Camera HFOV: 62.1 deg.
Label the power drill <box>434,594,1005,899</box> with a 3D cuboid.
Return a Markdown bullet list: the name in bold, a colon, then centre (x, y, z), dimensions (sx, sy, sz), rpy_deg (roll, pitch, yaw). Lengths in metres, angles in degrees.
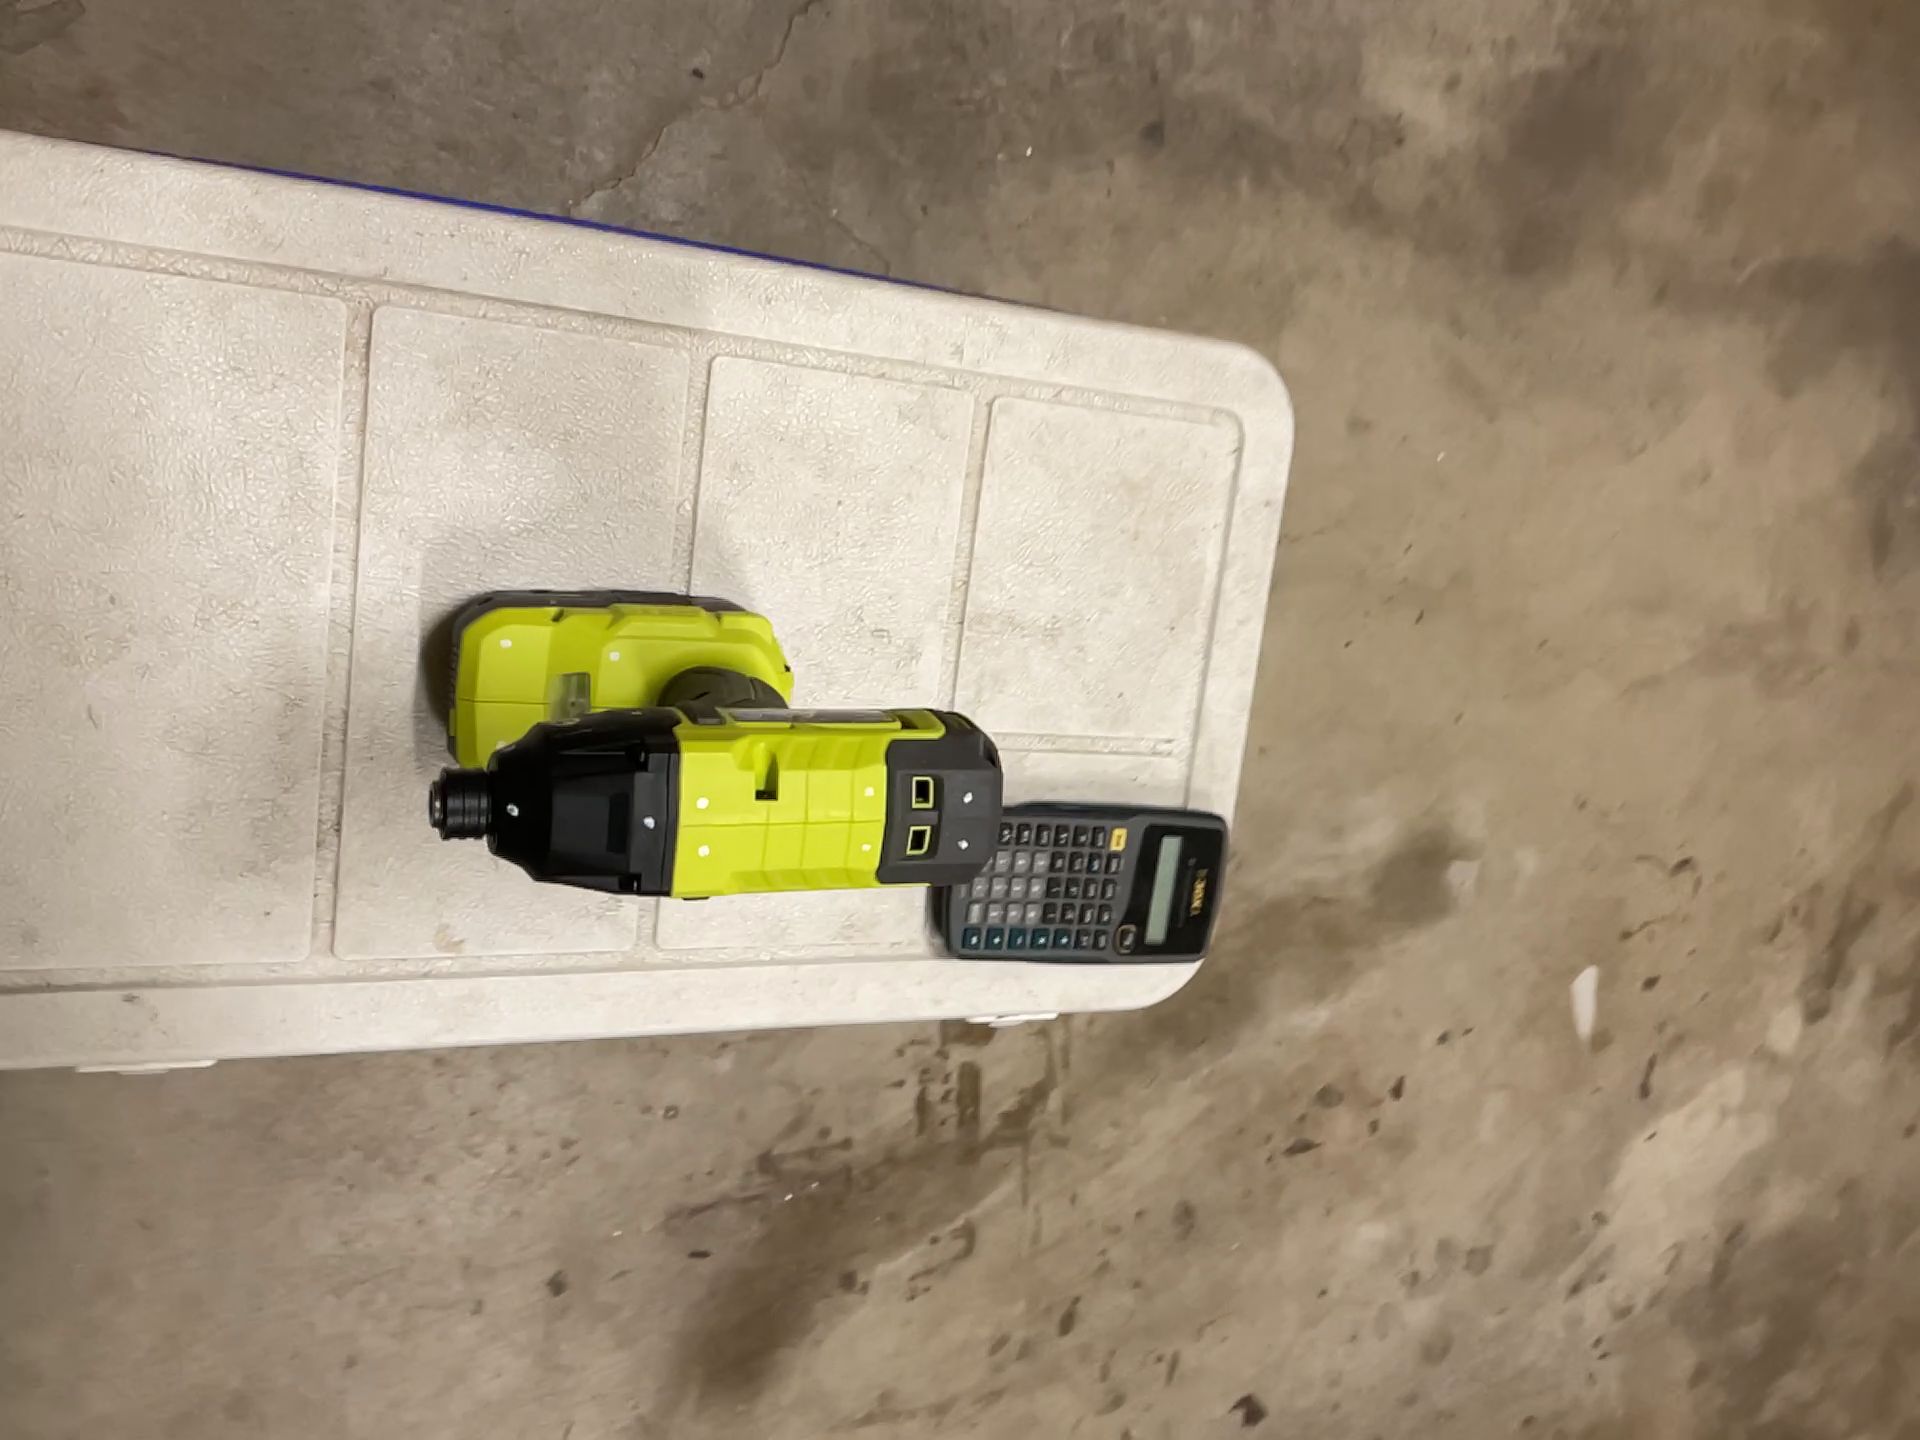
- **power drill**: centre (-0.107, 0.007, 0.569), dimensions (0.171, 0.223, 0.080), rpy_deg (0, 101, -25)
